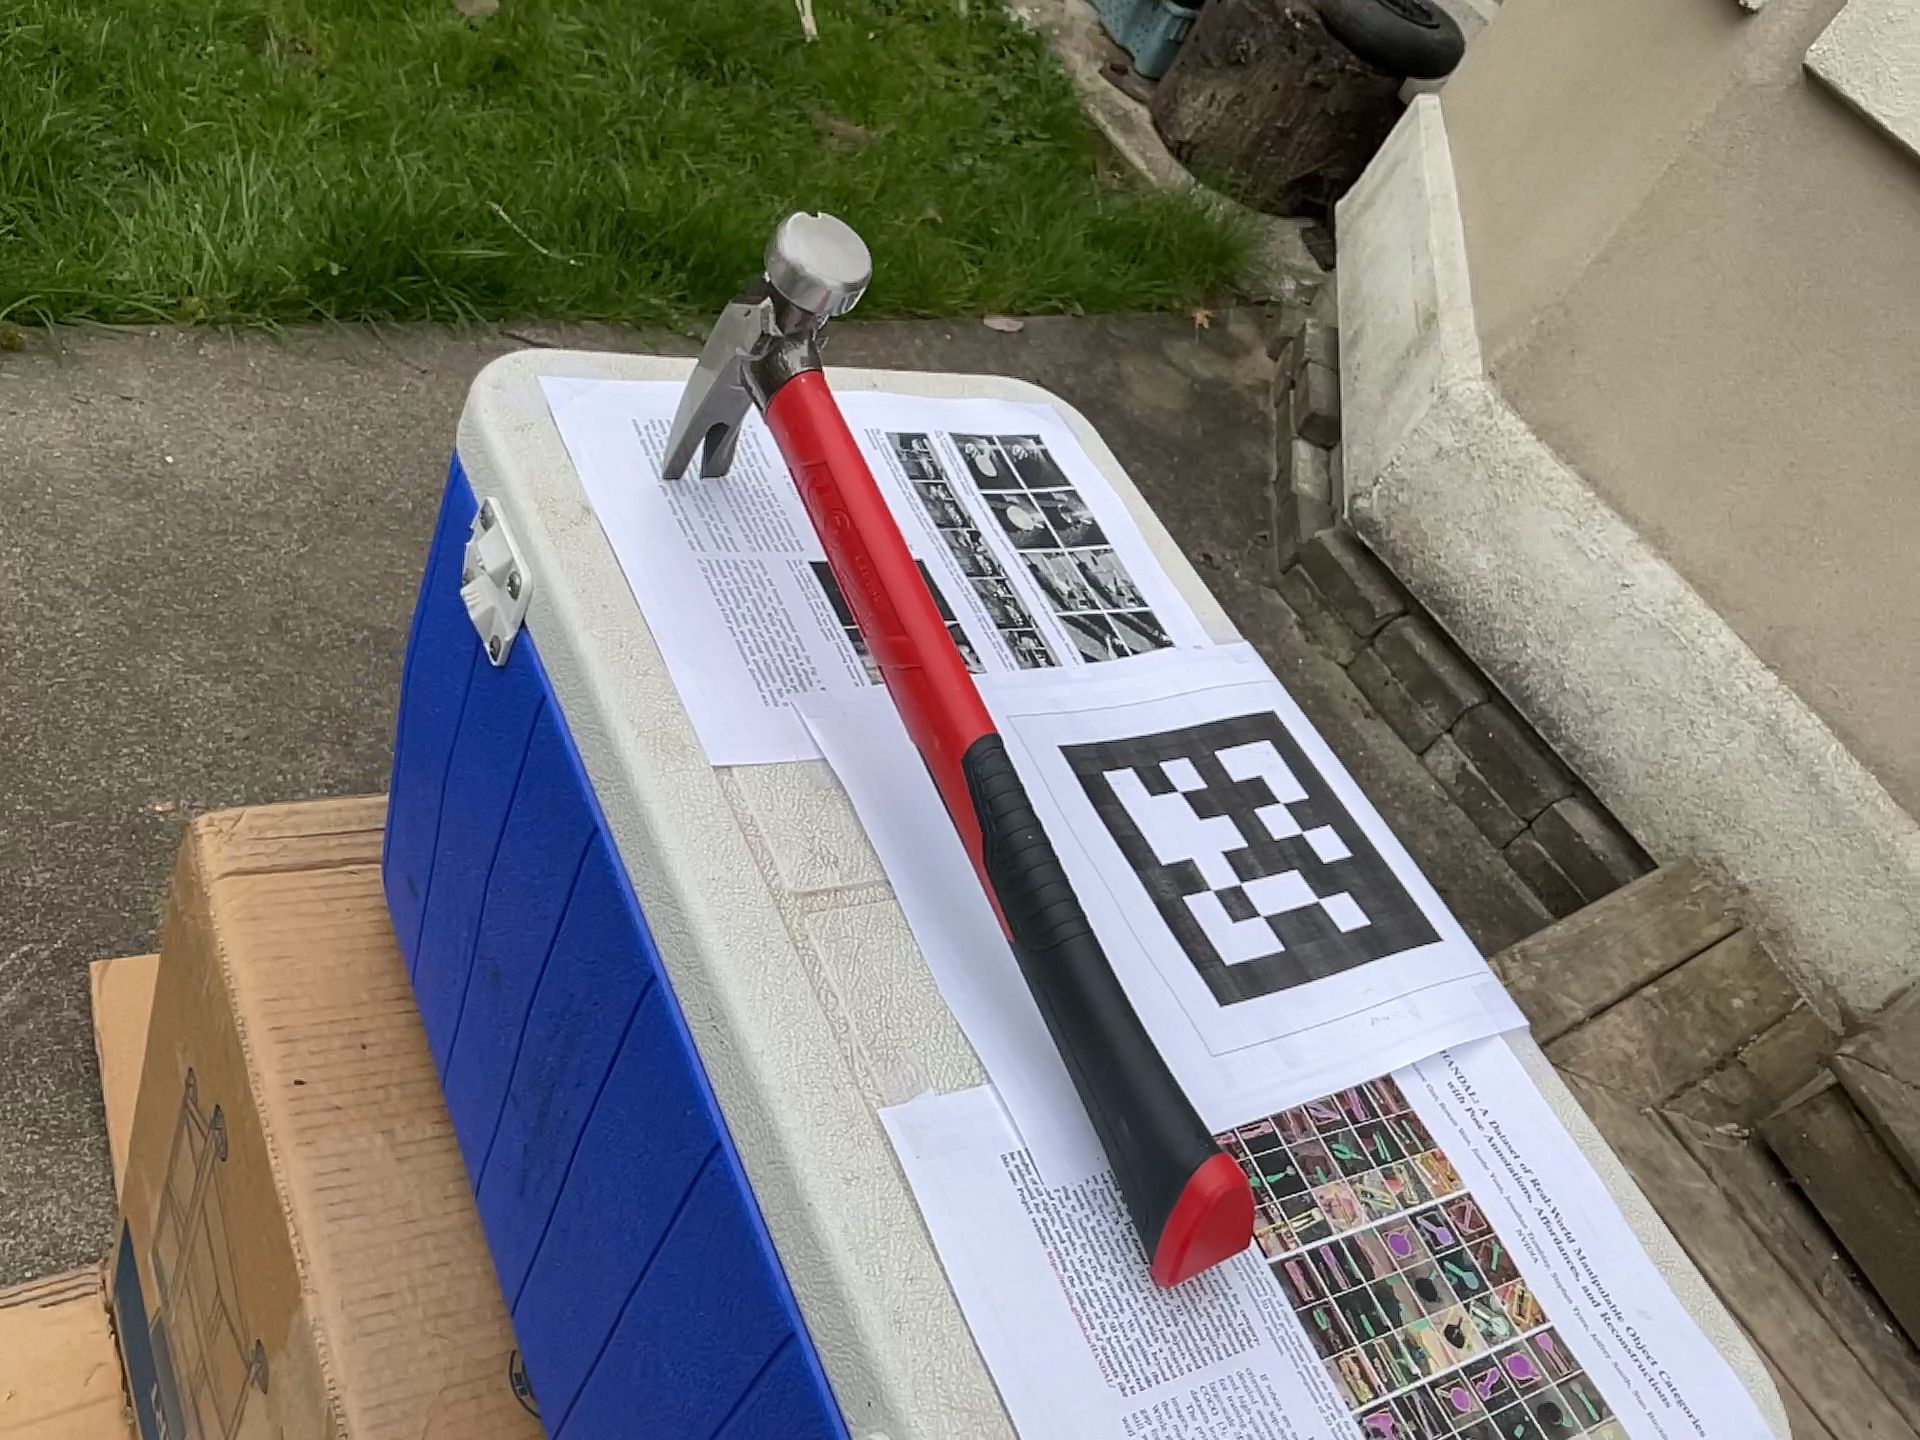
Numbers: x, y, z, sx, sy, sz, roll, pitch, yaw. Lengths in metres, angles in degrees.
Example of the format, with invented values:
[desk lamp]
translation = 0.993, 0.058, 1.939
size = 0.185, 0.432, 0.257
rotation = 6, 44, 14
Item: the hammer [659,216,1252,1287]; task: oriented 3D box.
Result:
[hammer]
translation = -0.010, 0.014, 0.573
size = 0.038, 0.143, 0.386
rotation = -11, 66, -37
